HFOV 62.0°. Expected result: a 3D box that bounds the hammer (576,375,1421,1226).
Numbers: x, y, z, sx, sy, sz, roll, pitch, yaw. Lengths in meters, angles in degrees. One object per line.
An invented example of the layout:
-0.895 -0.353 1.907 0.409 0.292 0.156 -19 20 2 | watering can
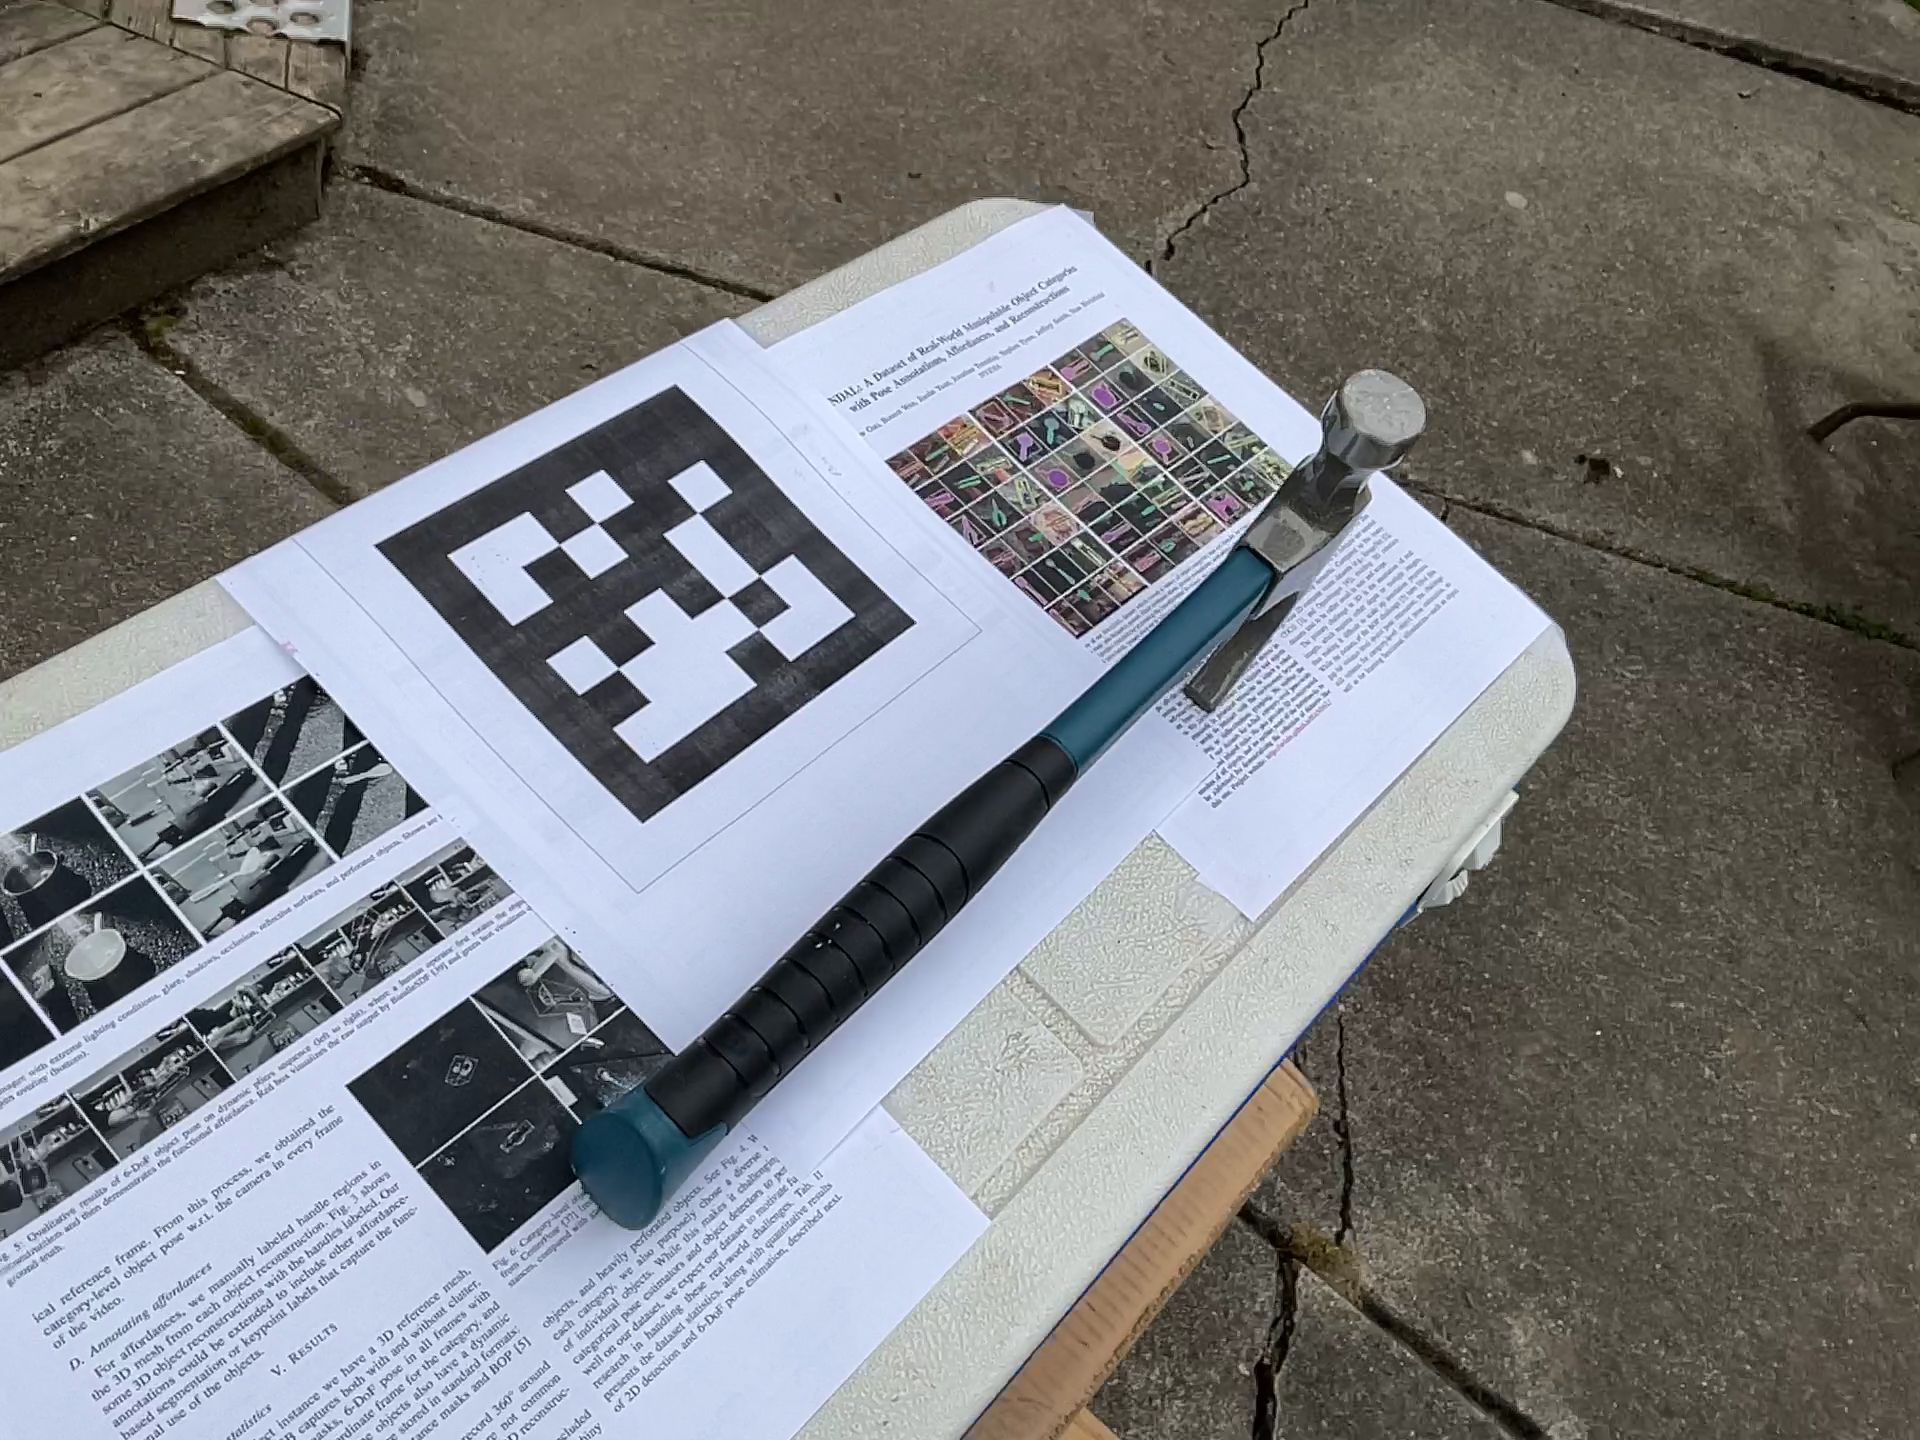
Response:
0.019 0.022 0.484 0.033 0.128 0.331 42 63 12 | hammer
